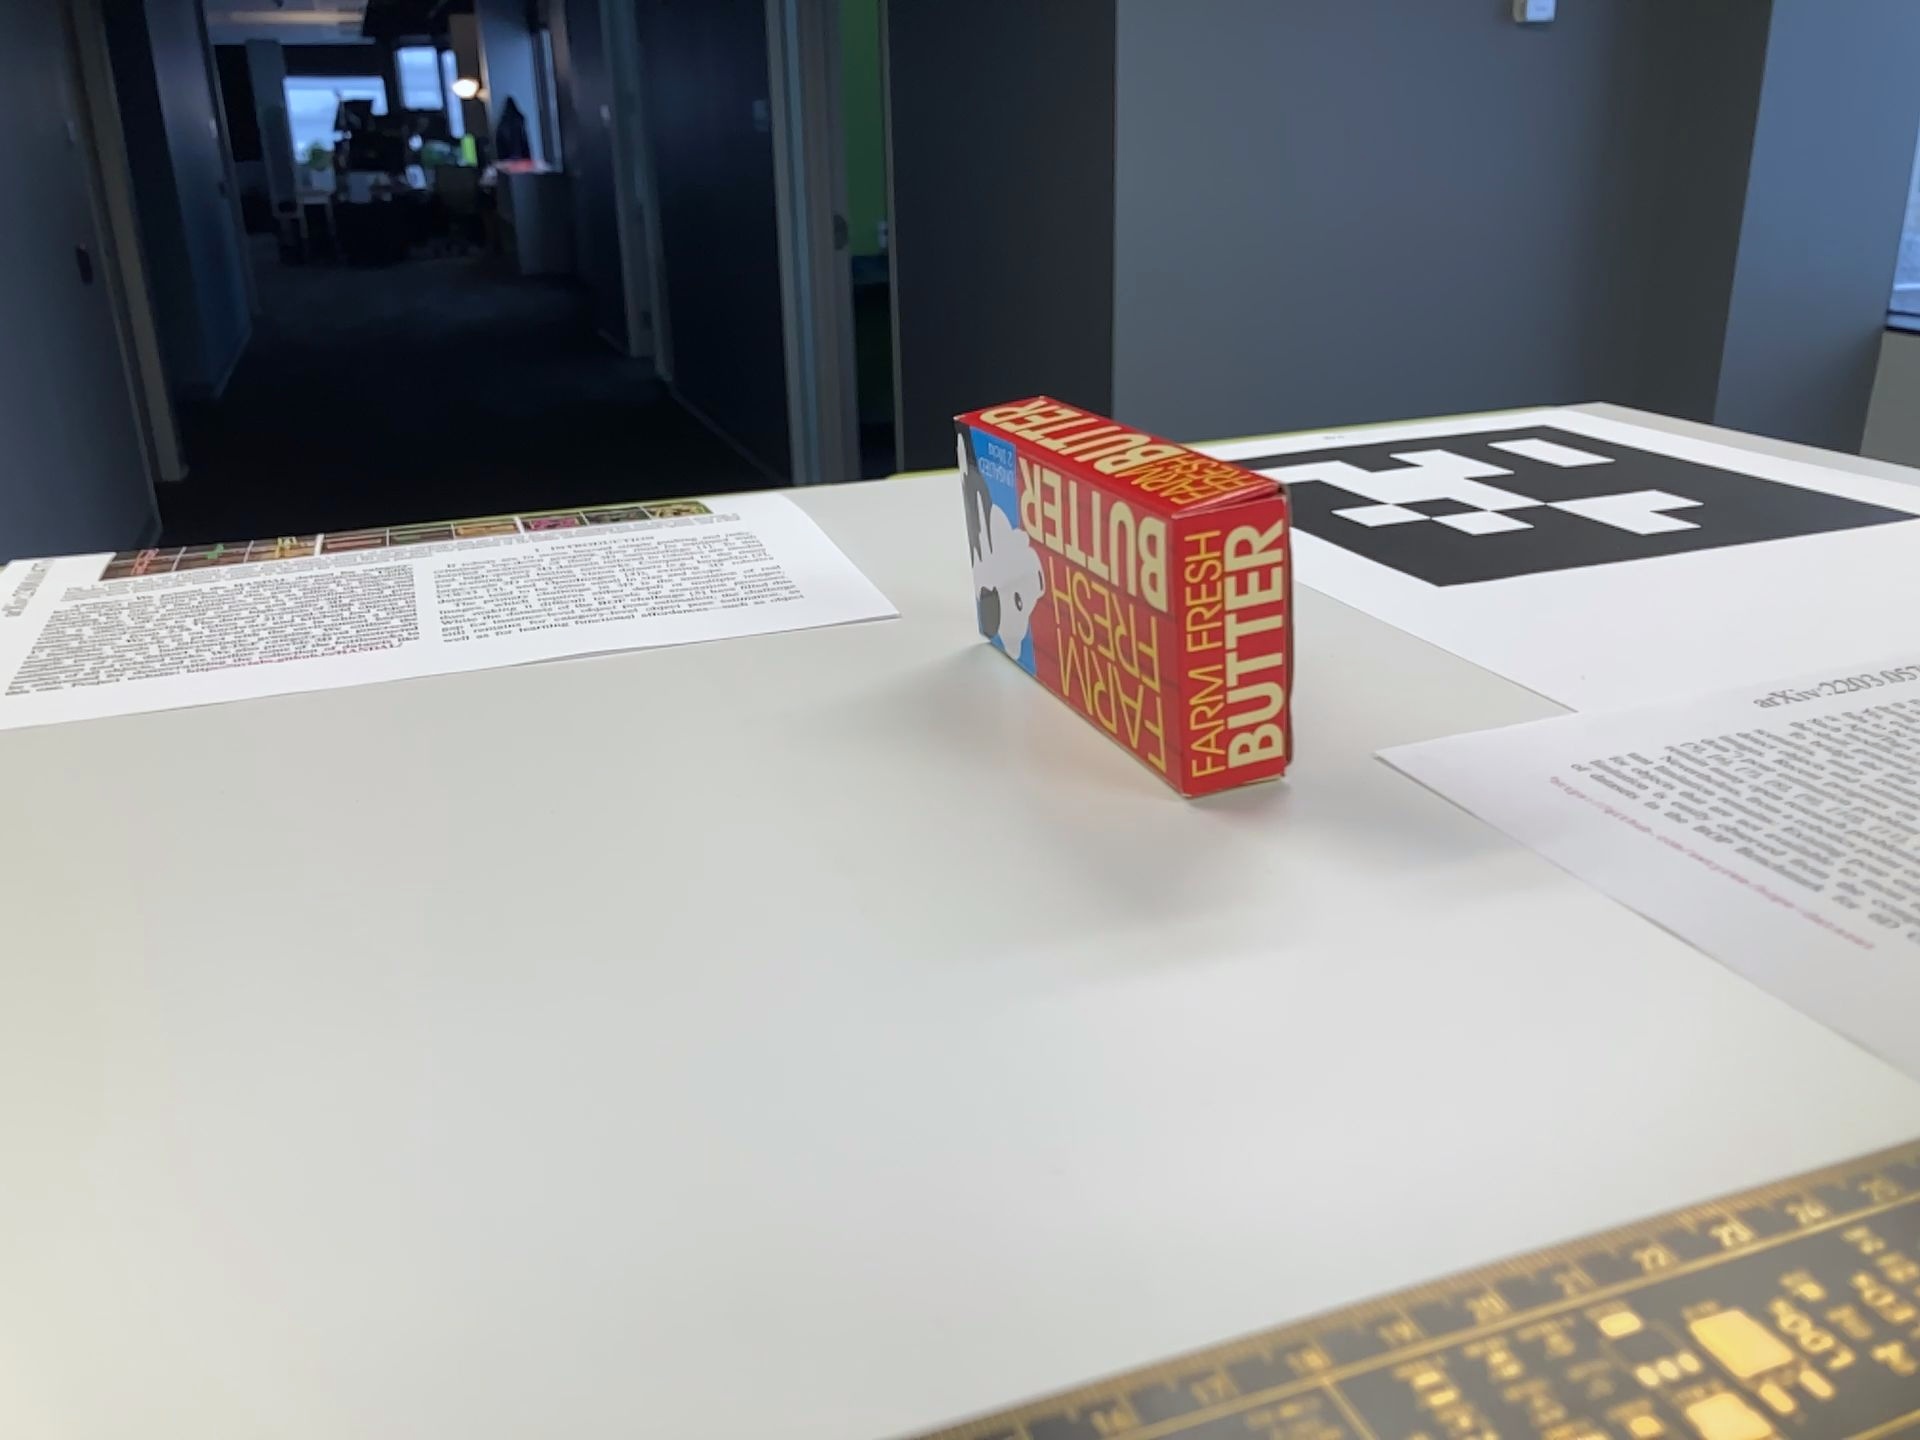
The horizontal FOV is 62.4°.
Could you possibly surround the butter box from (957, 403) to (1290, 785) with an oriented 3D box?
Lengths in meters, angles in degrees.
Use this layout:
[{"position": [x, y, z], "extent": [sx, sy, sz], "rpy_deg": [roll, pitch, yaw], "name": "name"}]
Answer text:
[{"position": [0.030, -0.029, 0.318], "extent": [0.024, 0.053, 0.103], "rpy_deg": [-14, 22, -16], "name": "butter box"}]
